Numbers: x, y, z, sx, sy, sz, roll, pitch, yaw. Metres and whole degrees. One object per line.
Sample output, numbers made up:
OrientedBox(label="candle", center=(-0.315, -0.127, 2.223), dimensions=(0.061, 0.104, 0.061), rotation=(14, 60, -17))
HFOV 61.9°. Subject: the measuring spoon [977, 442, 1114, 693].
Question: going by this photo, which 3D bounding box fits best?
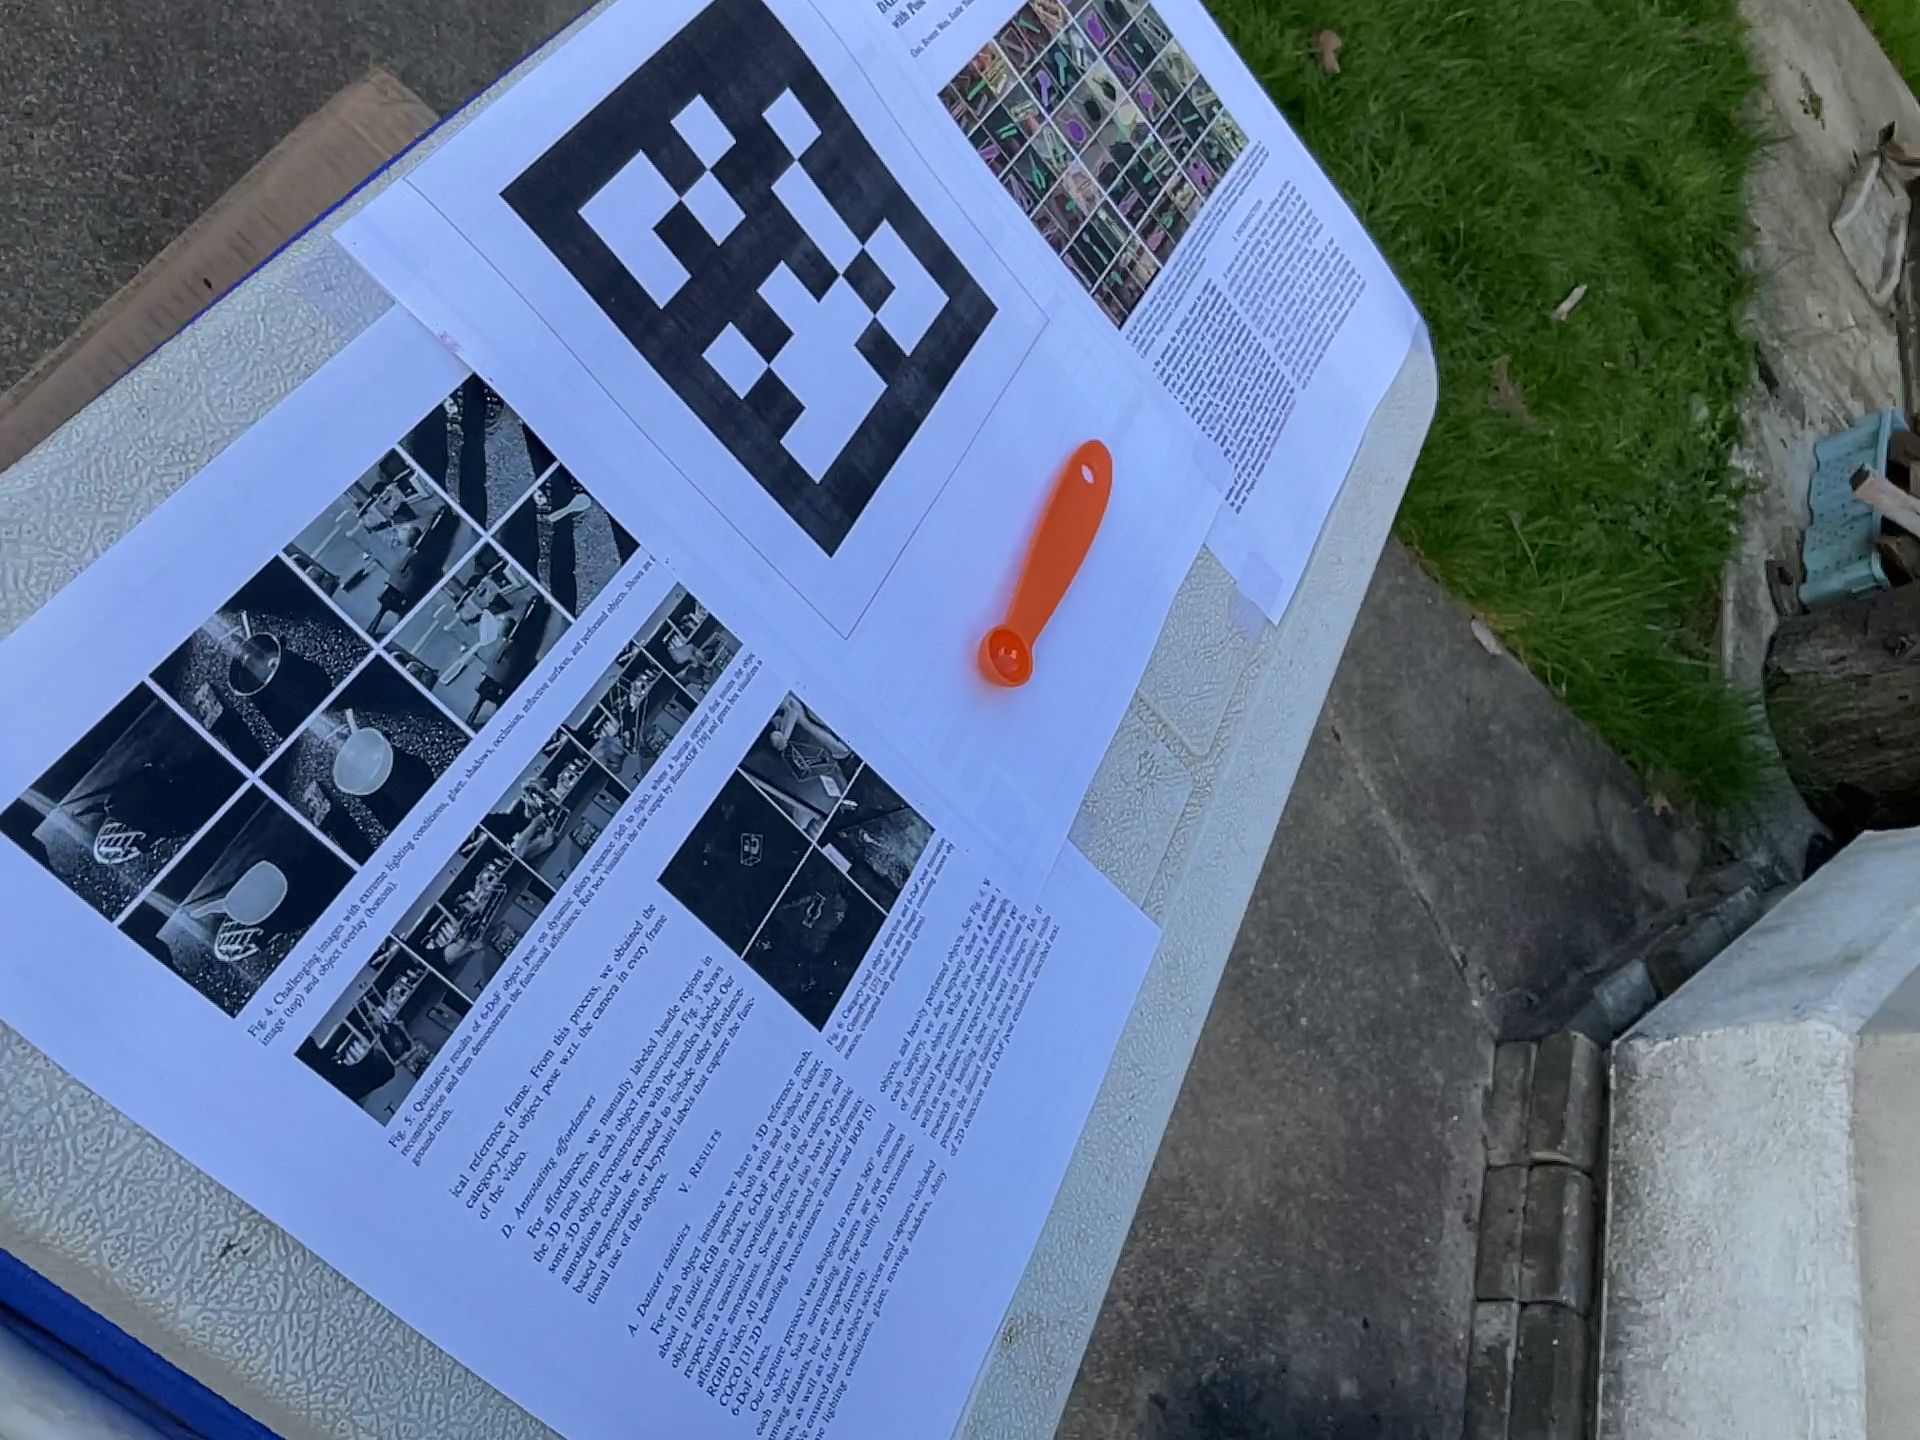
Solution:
OrientedBox(label="measuring spoon", center=(0.028, -0.051, 0.509), dimensions=(0.021, 0.011, 0.117), rotation=(45, 46, -22))
